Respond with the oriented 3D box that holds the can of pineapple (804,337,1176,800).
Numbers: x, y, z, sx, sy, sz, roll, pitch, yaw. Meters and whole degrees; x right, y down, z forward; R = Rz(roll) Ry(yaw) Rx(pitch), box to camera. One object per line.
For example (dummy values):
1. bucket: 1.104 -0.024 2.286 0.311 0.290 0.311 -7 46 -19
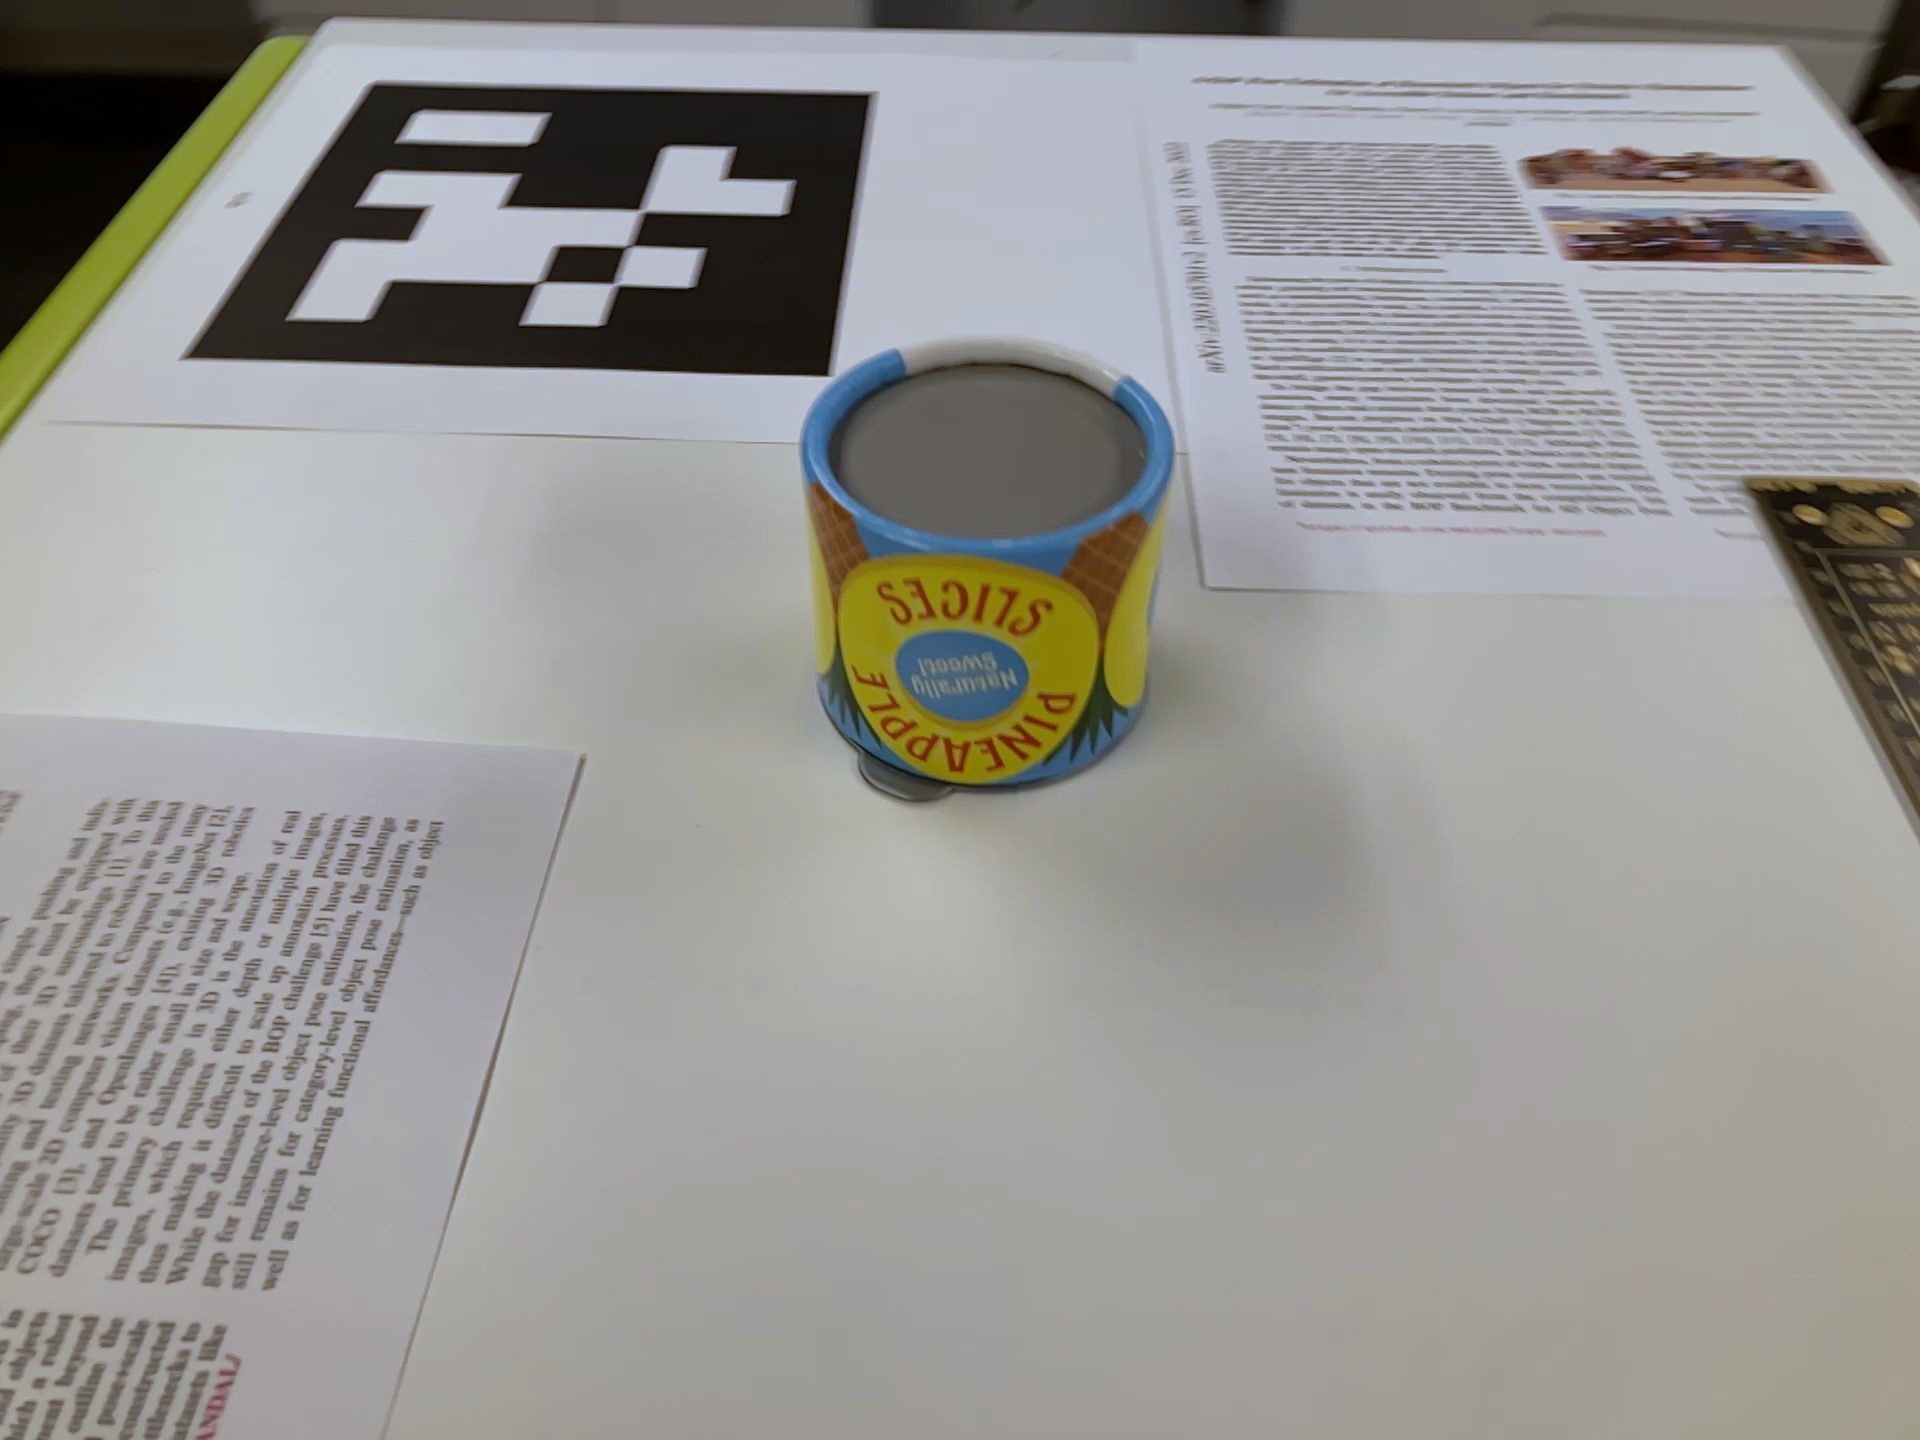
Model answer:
1. can of pineapple: 0.005 -0.029 0.296 0.071 0.058 0.071 0 45 0
